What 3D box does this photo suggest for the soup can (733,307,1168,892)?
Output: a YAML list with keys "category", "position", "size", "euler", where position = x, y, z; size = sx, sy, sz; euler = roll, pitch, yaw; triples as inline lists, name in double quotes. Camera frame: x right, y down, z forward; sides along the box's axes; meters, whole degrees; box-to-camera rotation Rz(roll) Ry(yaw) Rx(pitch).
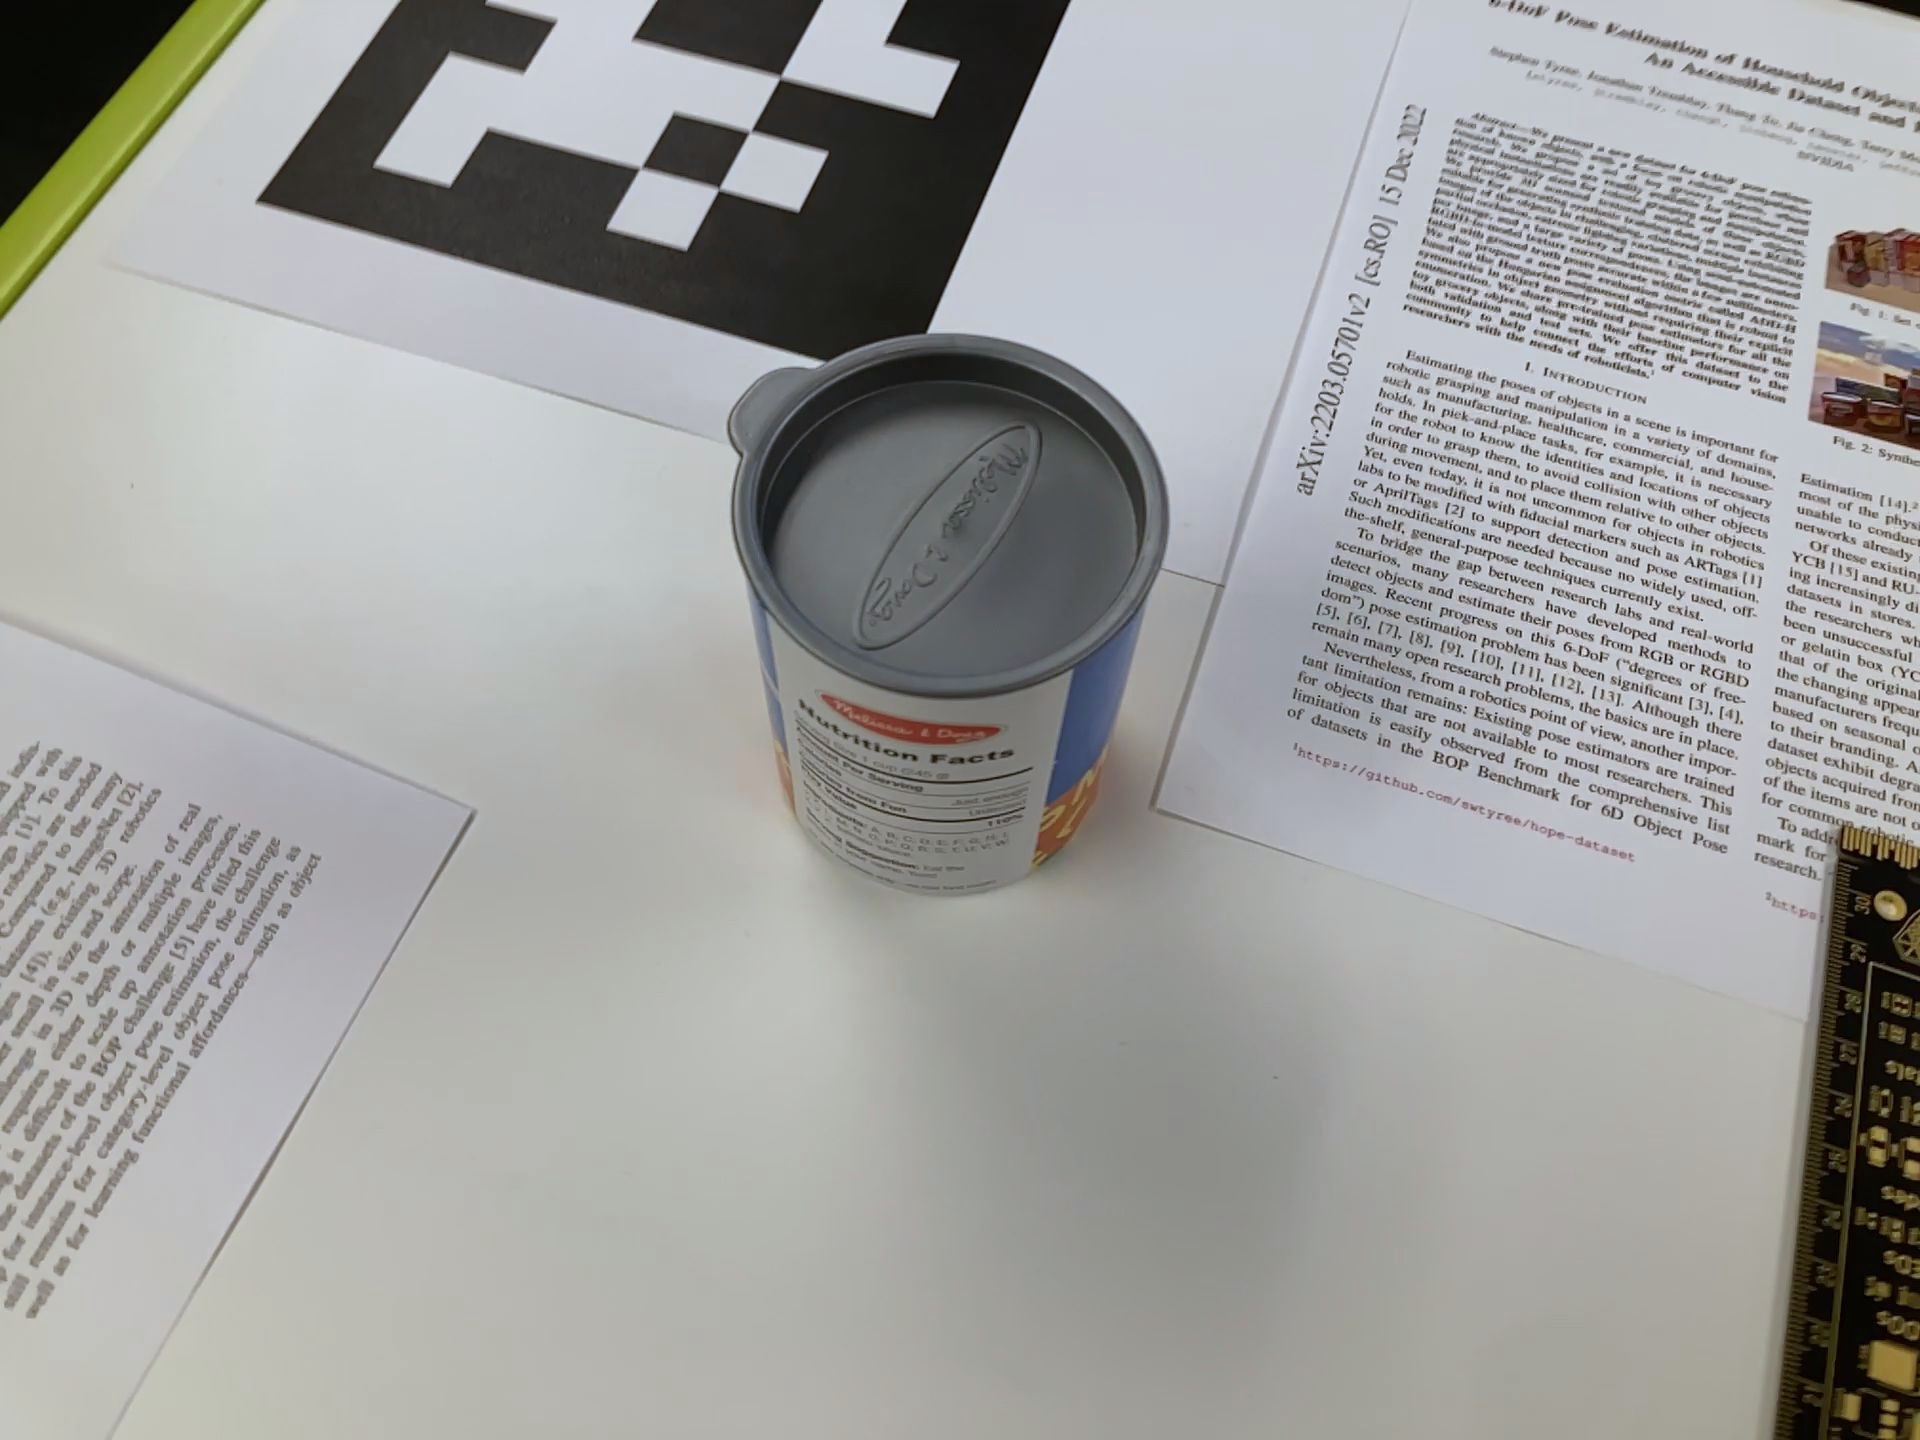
- category: "soup can"
  position: [-0.002, -0.017, 0.279]
  size: [0.071, 0.084, 0.071]
  euler: [1, 63, -2]
